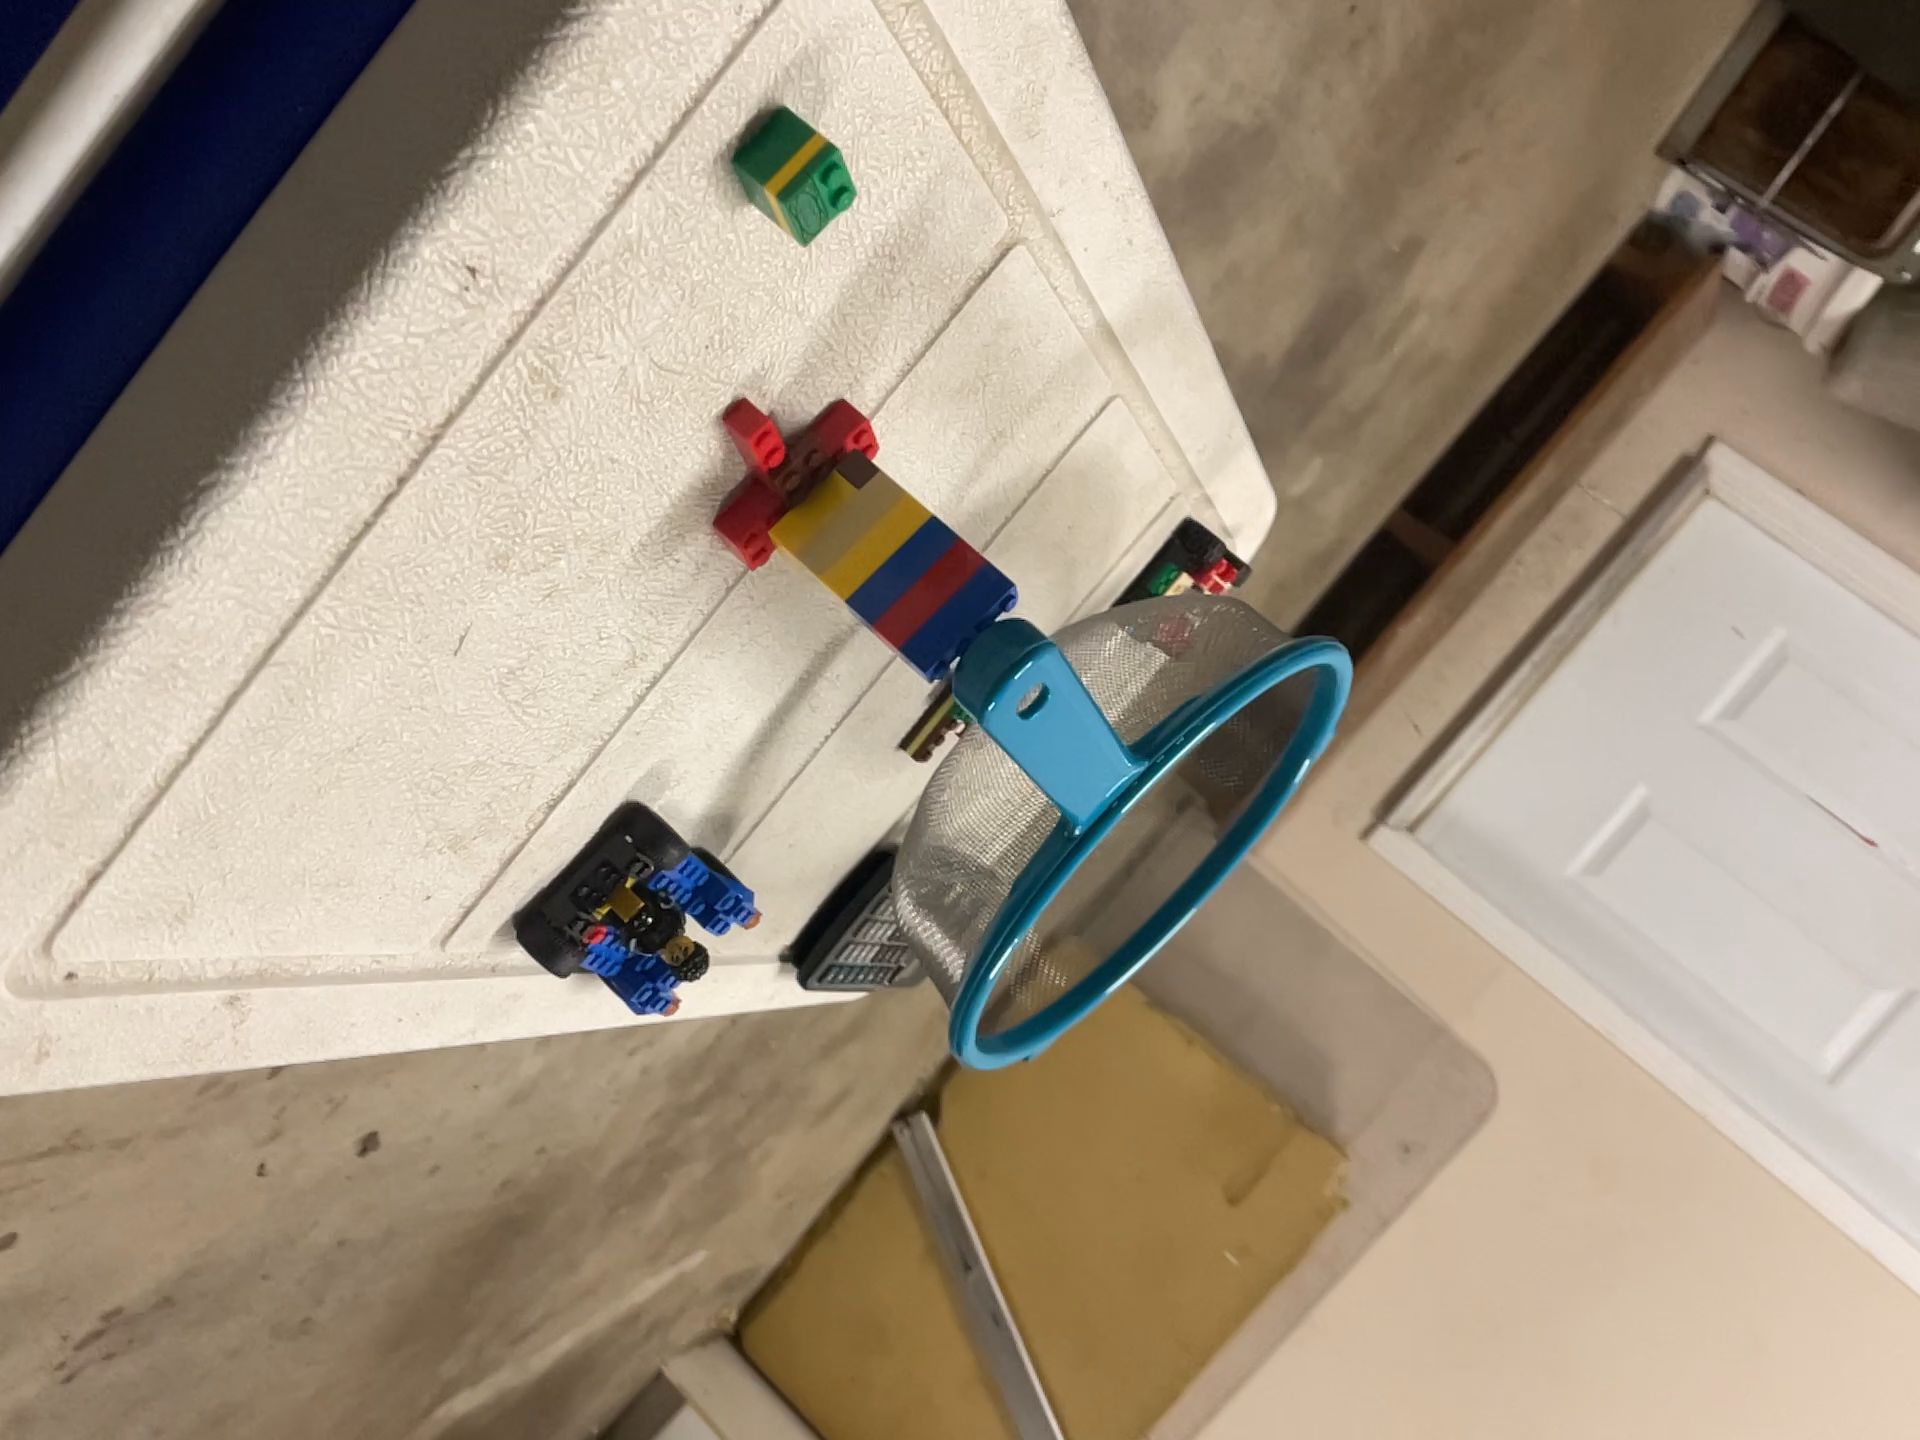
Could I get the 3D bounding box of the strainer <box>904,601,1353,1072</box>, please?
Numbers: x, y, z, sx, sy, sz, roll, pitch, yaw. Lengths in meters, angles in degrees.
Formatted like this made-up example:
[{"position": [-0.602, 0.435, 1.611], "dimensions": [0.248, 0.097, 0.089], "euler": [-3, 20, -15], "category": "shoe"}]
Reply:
[{"position": [0.029, 0.010, 0.556], "dimensions": [0.211, 0.095, 0.340], "euler": [-47, 157, -1], "category": "strainer"}]
